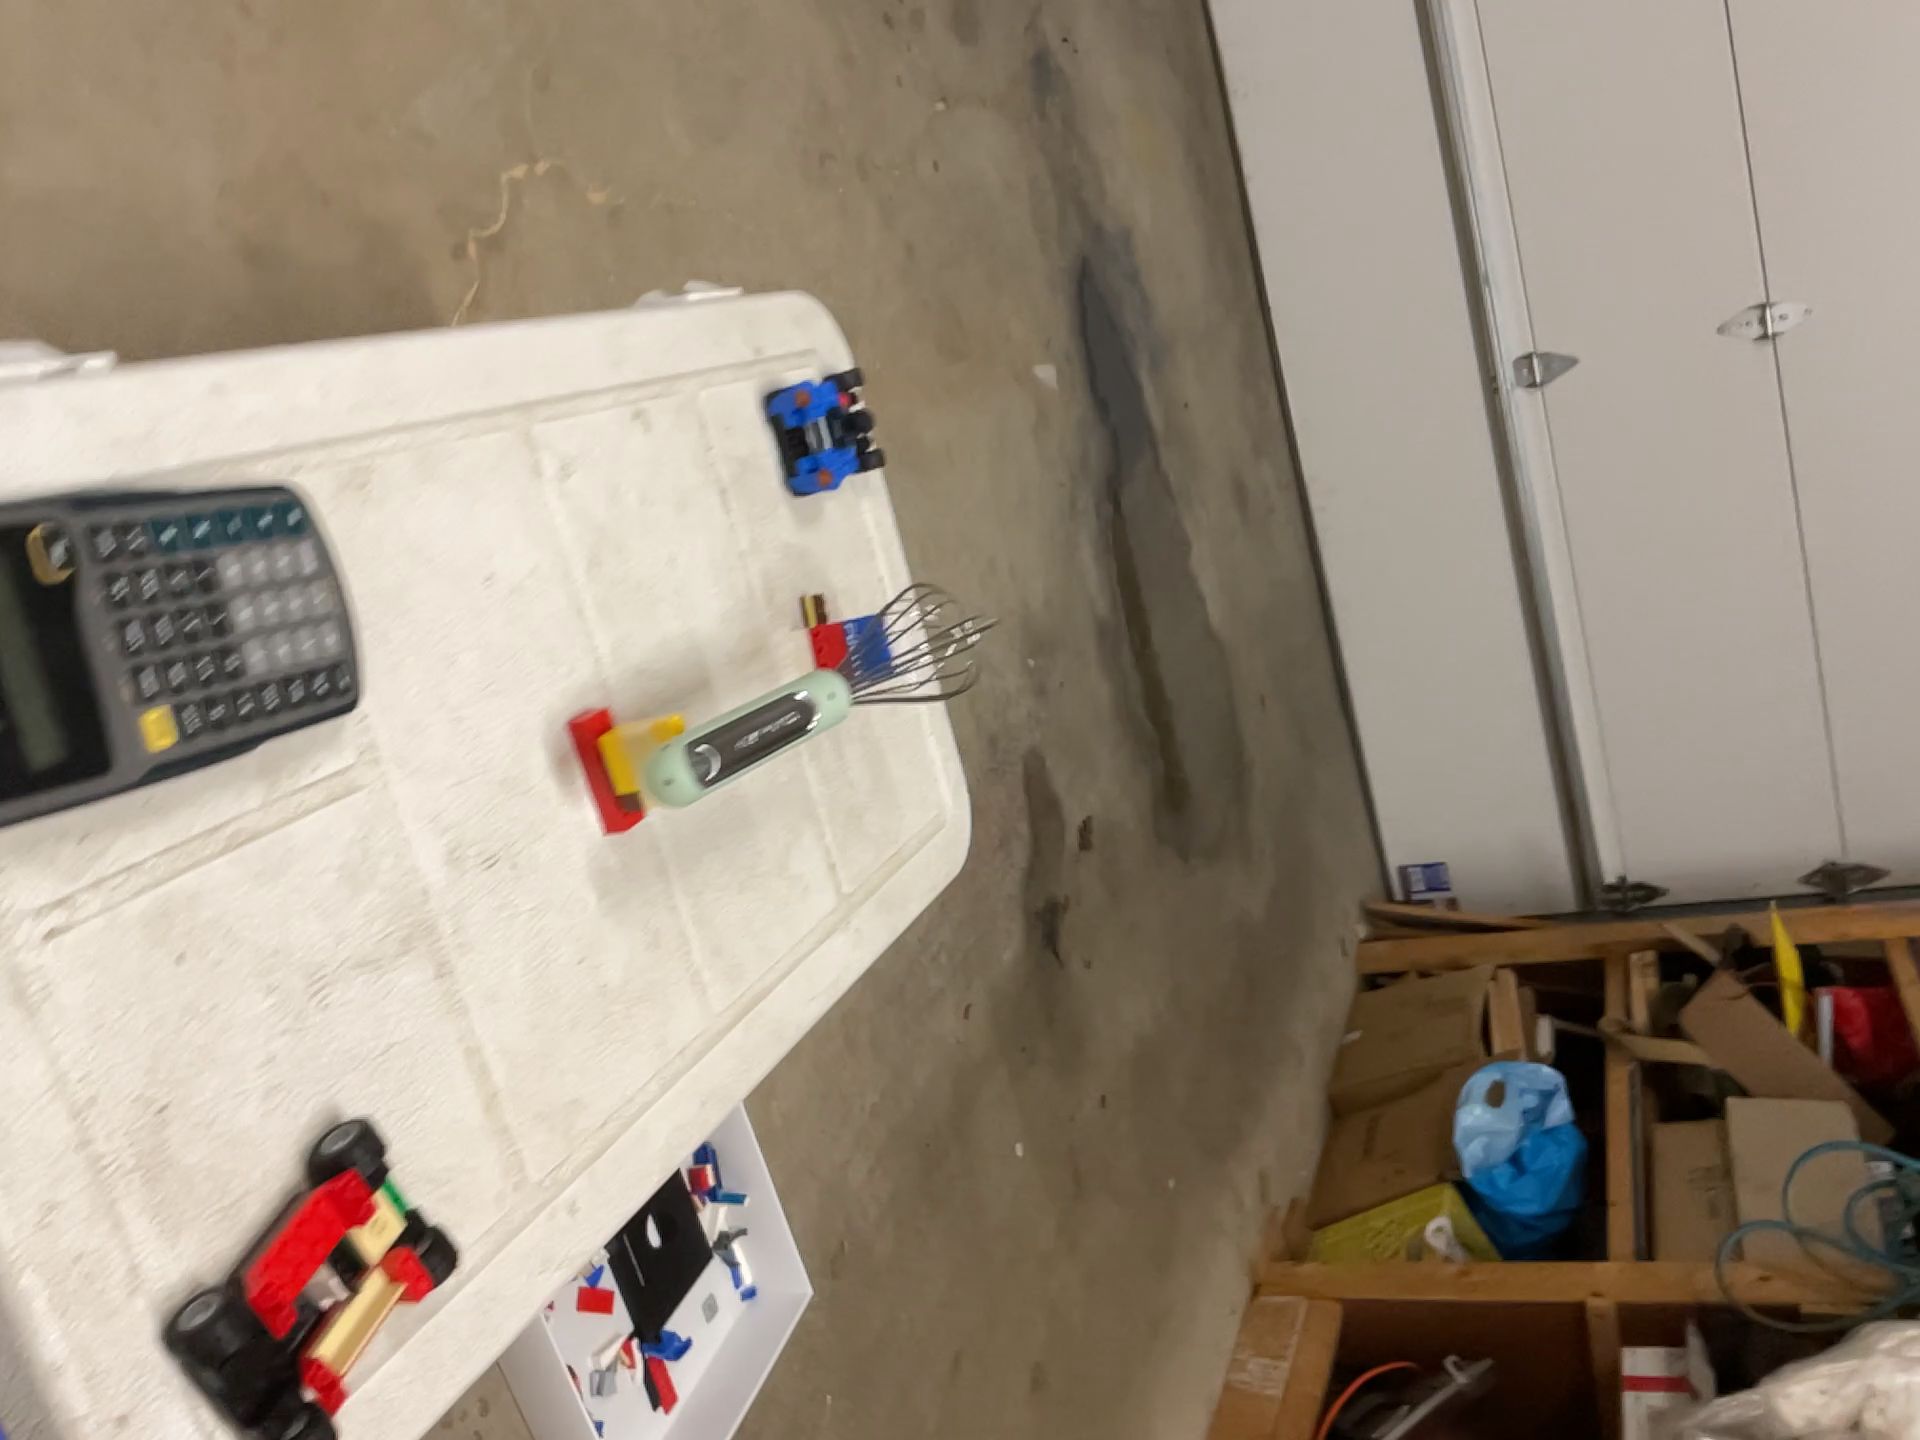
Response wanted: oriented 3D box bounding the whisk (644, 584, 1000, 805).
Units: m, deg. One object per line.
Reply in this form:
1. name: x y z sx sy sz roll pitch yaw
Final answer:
1. whisk: -0.053 -0.013 0.691 0.246 0.059 0.058 -31 102 -57
